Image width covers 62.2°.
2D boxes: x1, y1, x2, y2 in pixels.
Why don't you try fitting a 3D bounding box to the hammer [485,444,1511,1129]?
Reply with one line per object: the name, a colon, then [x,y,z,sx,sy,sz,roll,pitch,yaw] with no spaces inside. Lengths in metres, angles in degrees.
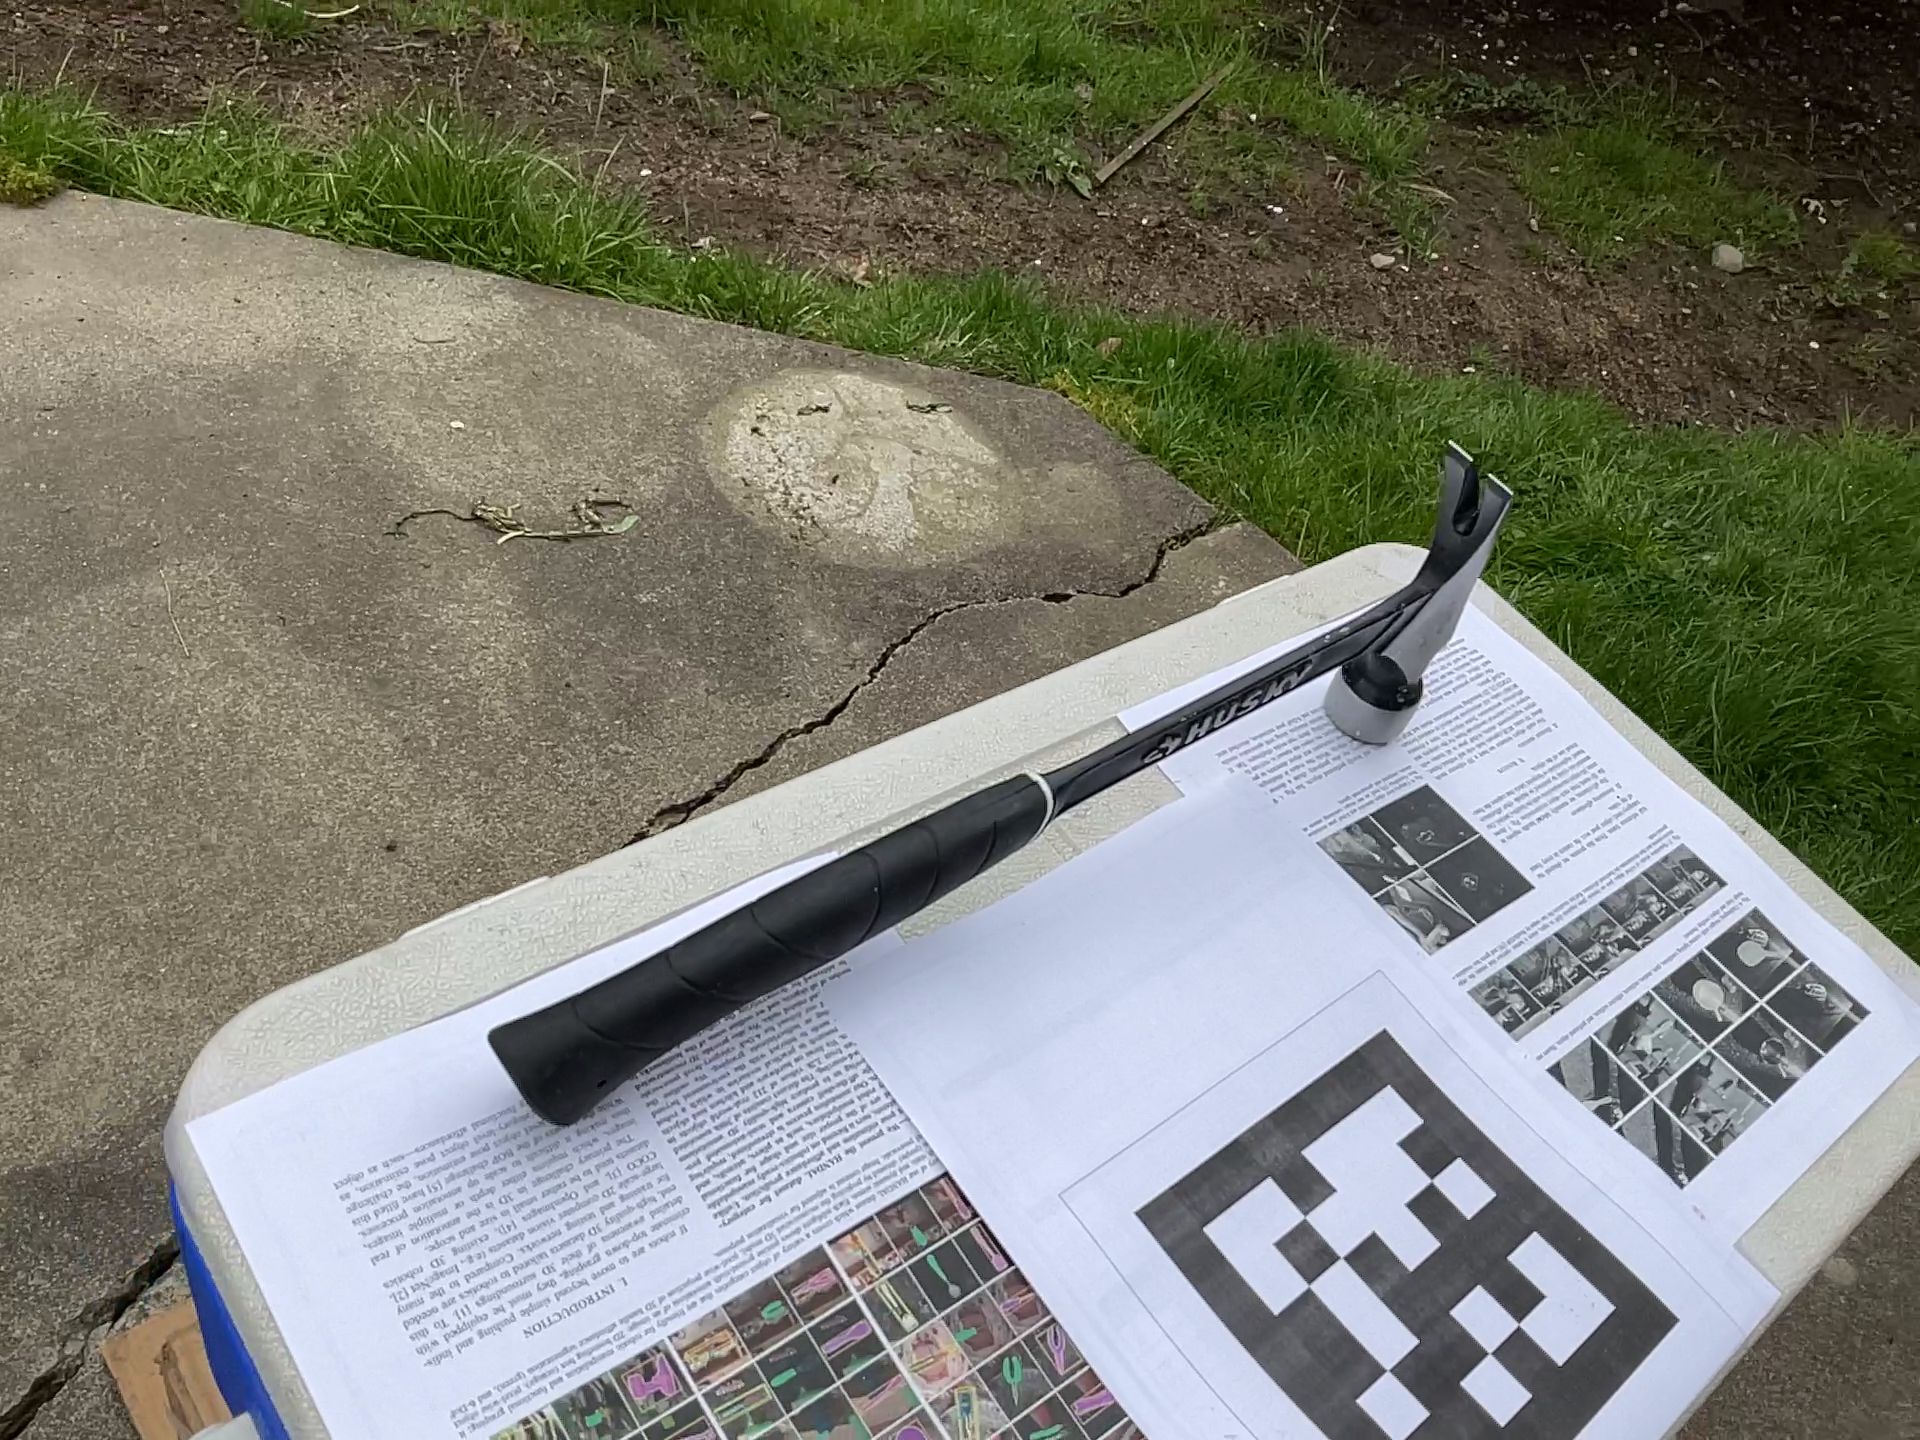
hammer: [0.036,0.023,0.535,0.408,0.149,0.036,-25,60,-29]
